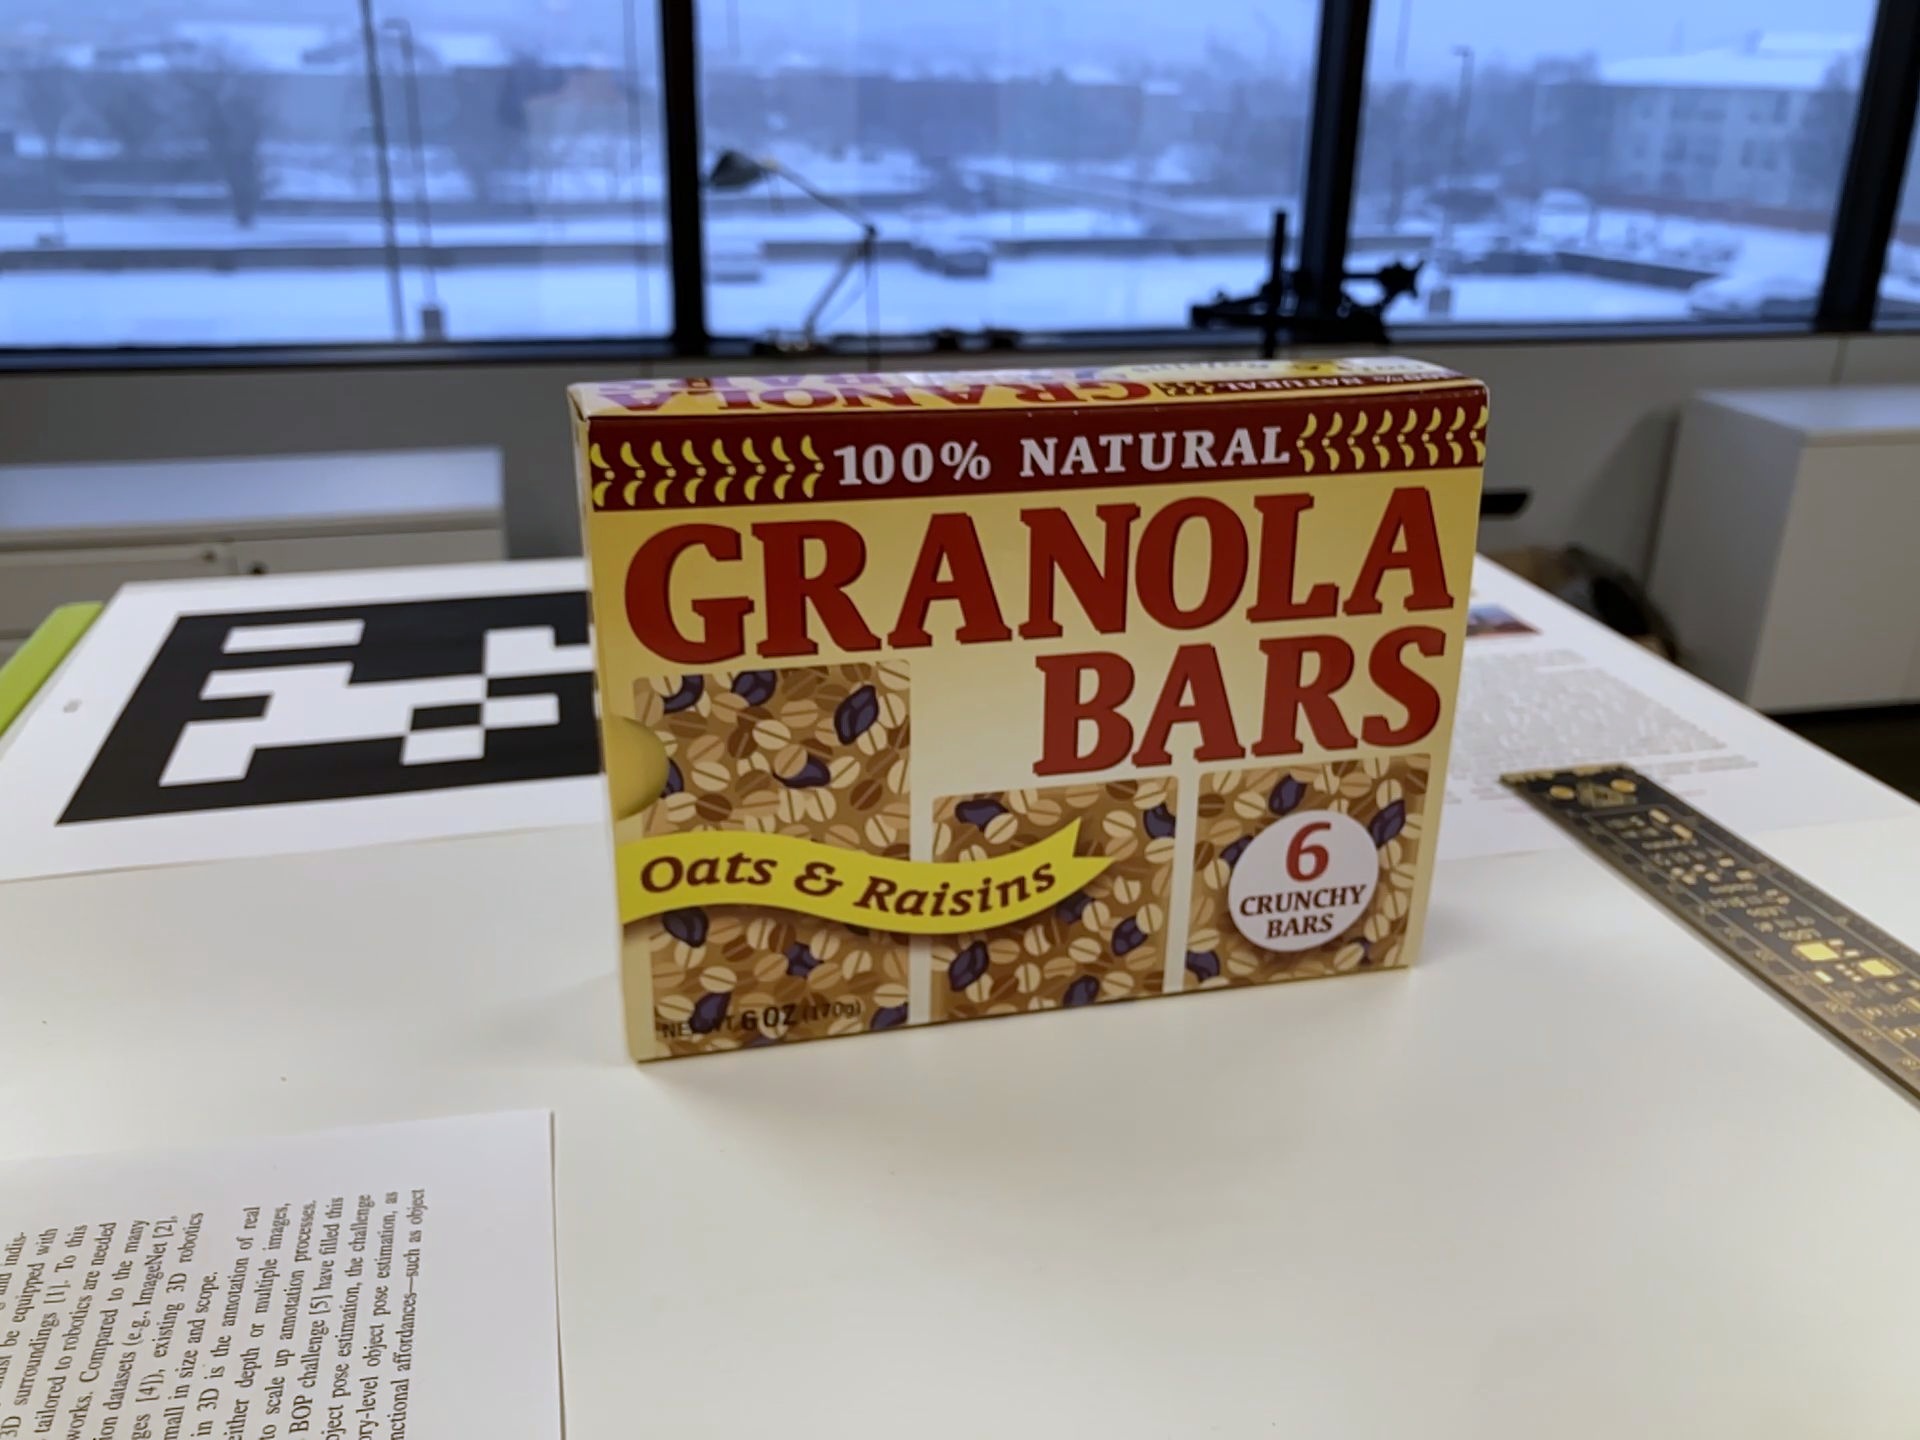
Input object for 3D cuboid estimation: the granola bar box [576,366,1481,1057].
[{"bbox_3d":[0.014,-0.004,0.316,0.165,0.124,0.039,-4,21,-13],"label":"granola bar box"}]
